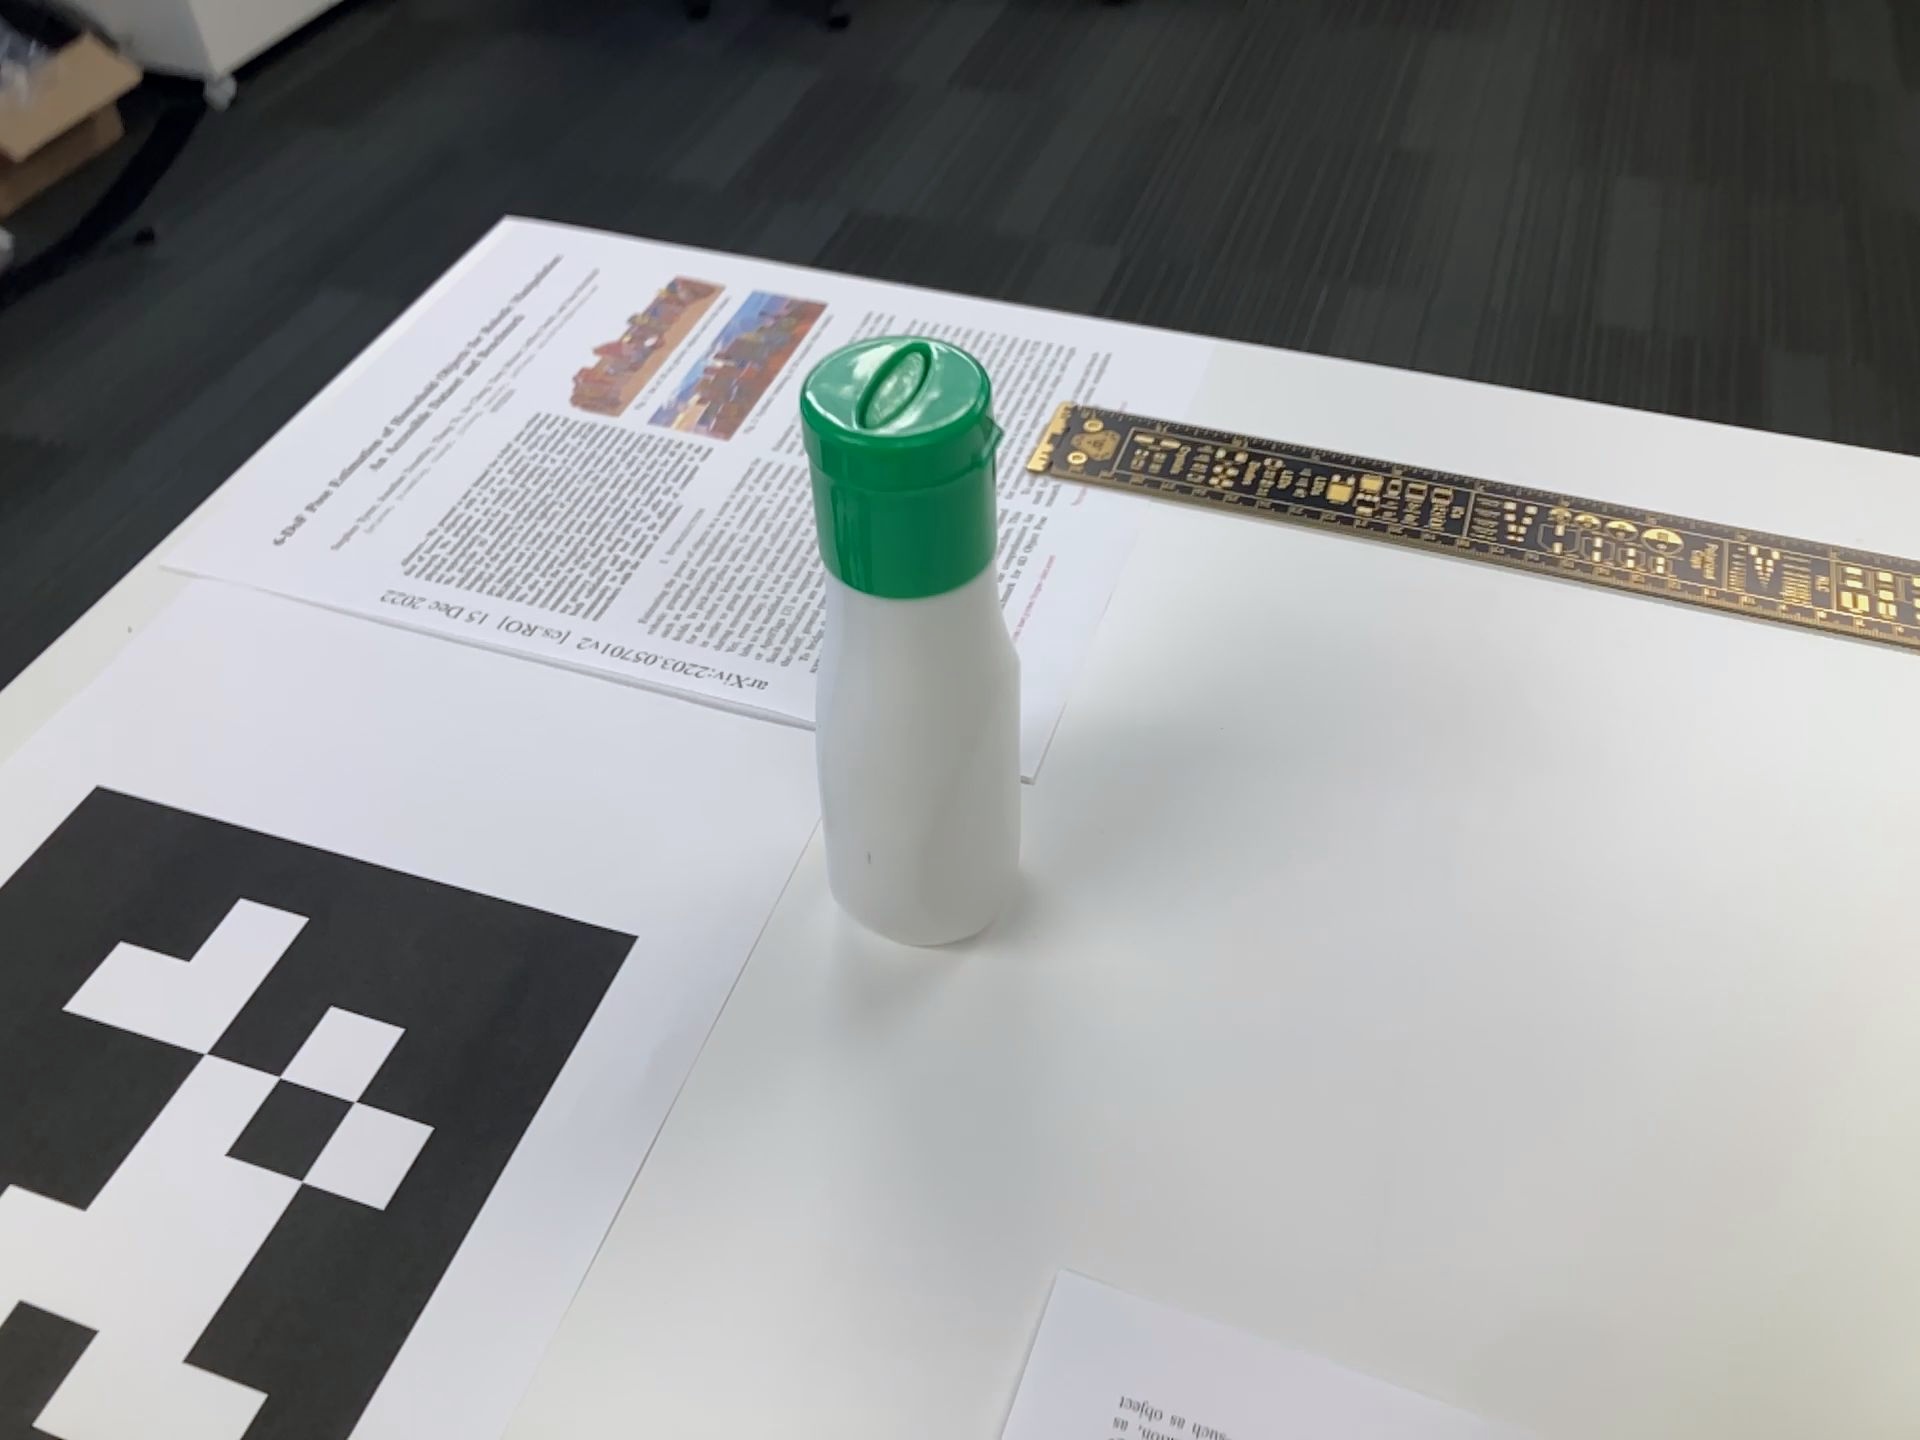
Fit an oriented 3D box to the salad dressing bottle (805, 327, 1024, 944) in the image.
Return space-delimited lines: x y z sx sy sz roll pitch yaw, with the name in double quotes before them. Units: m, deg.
"salad dressing bottle" -0.009 -0.012 0.344 0.044 0.147 0.064 14 47 14
